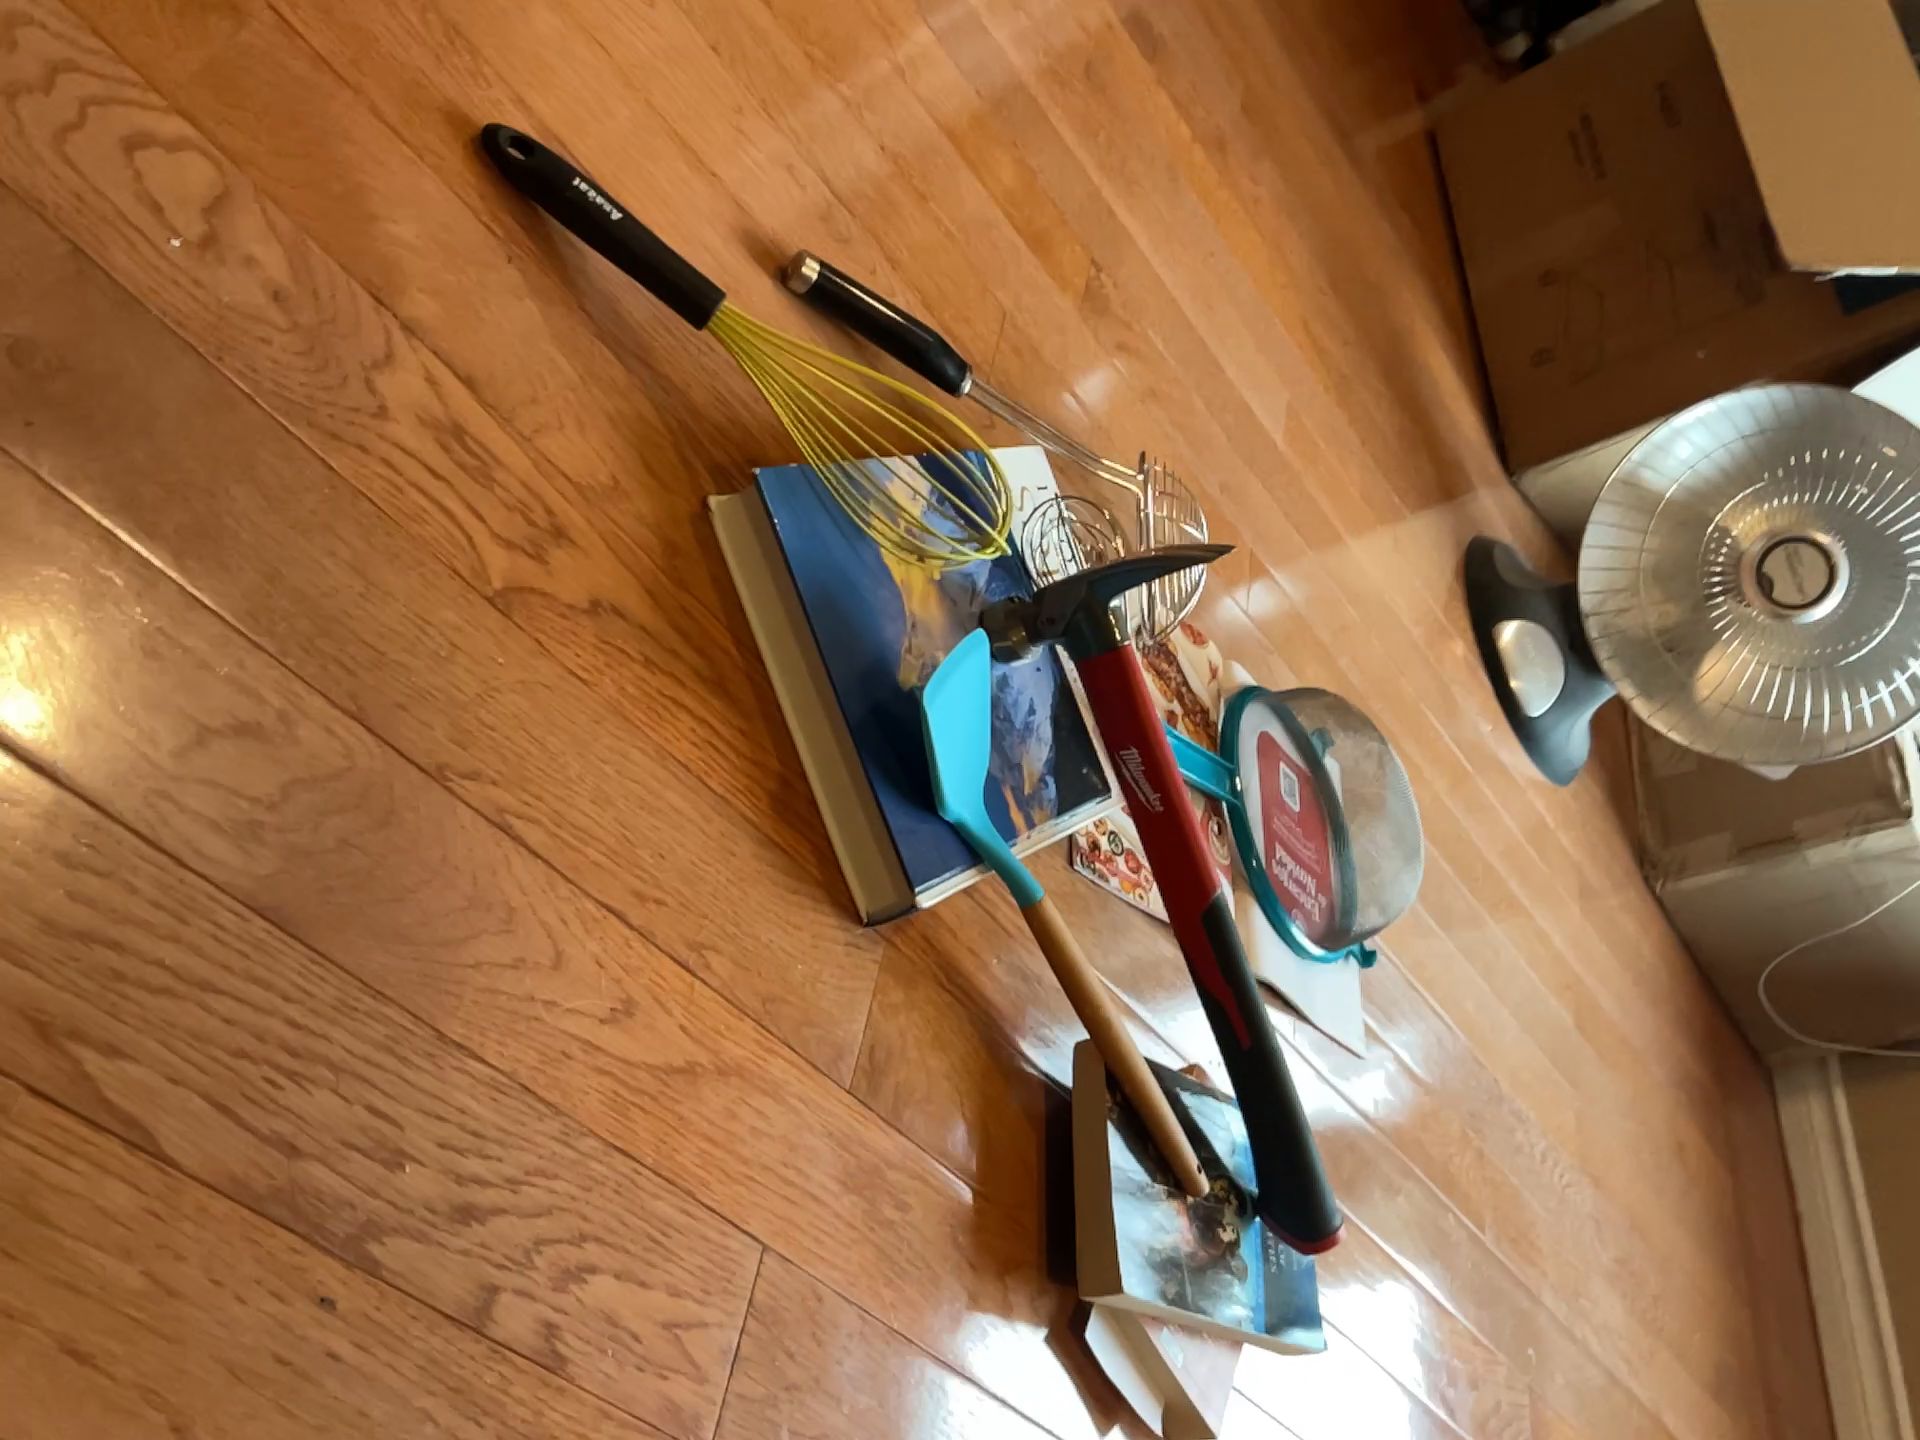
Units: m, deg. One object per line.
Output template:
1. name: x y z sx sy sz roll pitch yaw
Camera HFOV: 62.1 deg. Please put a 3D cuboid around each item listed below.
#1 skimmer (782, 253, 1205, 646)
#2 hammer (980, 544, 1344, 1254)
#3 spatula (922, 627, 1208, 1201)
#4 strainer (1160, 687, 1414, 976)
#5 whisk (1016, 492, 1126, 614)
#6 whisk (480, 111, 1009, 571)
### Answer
1. skimmer: 0.026 -0.164 0.981 0.363 0.090 0.128 27 53 -32
2. hammer: 0.139 0.100 0.842 0.038 0.143 0.386 -29 99 -54
3. spatula: 0.056 0.109 0.789 0.317 0.044 0.082 61 32 -13
4. strainer: 0.236 0.048 1.089 0.340 0.095 0.211 30 50 -54
5. whisk: 0.092 -0.014 0.917 0.059 0.057 0.246 -100 170 -82
6. whisk: -0.096 -0.175 0.753 0.311 0.067 0.080 38 57 -18
